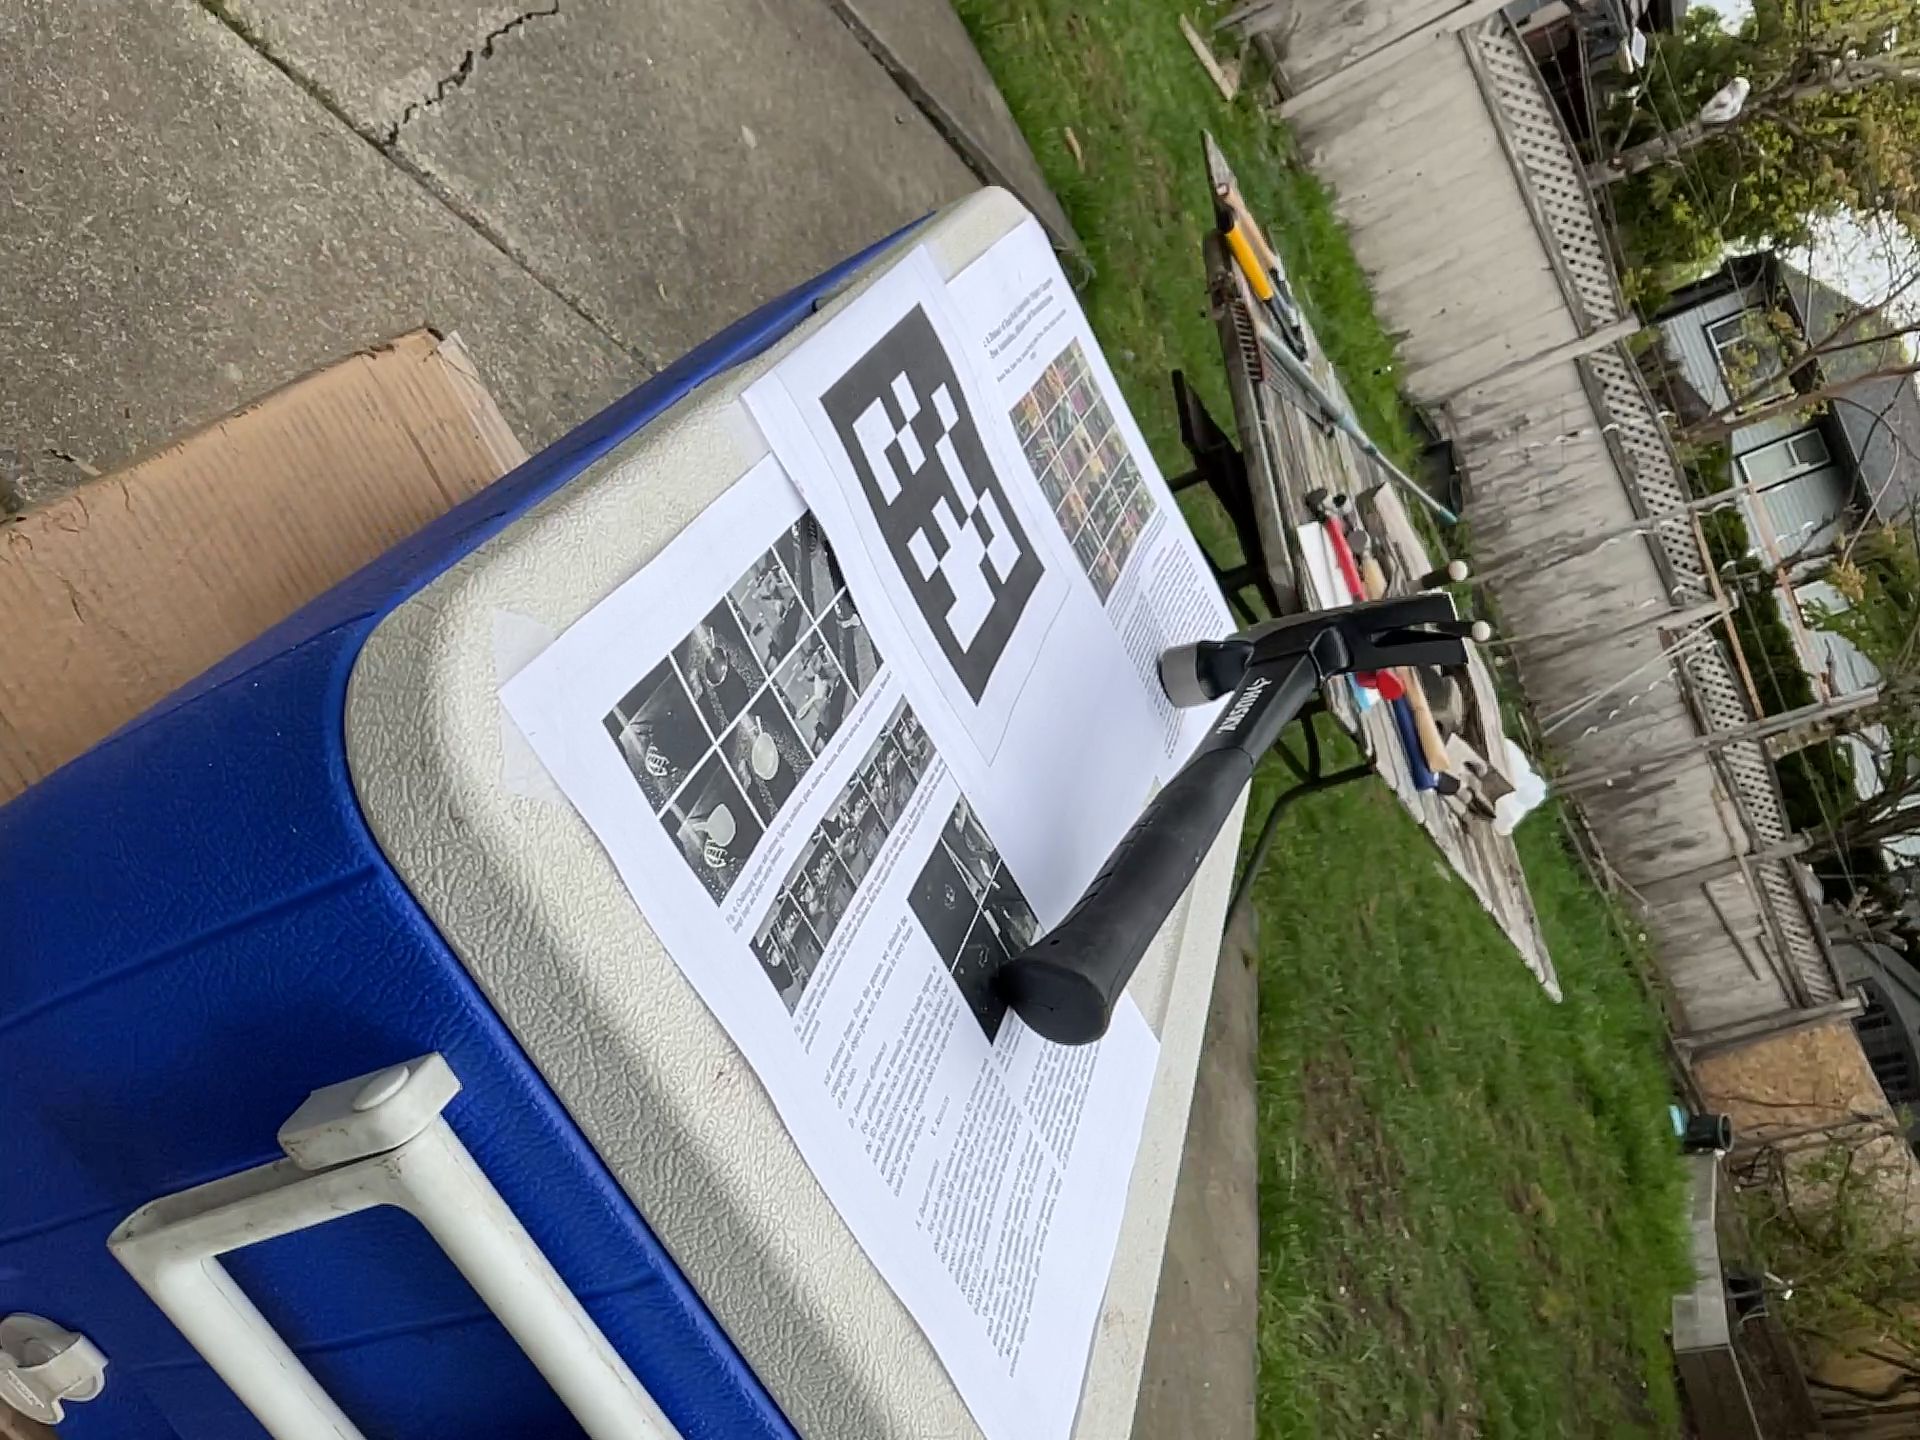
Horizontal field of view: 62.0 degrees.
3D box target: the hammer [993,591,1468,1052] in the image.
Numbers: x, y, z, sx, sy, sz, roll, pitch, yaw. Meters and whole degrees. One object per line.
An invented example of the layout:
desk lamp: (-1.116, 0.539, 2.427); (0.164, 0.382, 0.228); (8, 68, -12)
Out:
hammer: (0.101, 0.026, 0.632); (0.335, 0.146, 0.035); (-43, 116, -55)
